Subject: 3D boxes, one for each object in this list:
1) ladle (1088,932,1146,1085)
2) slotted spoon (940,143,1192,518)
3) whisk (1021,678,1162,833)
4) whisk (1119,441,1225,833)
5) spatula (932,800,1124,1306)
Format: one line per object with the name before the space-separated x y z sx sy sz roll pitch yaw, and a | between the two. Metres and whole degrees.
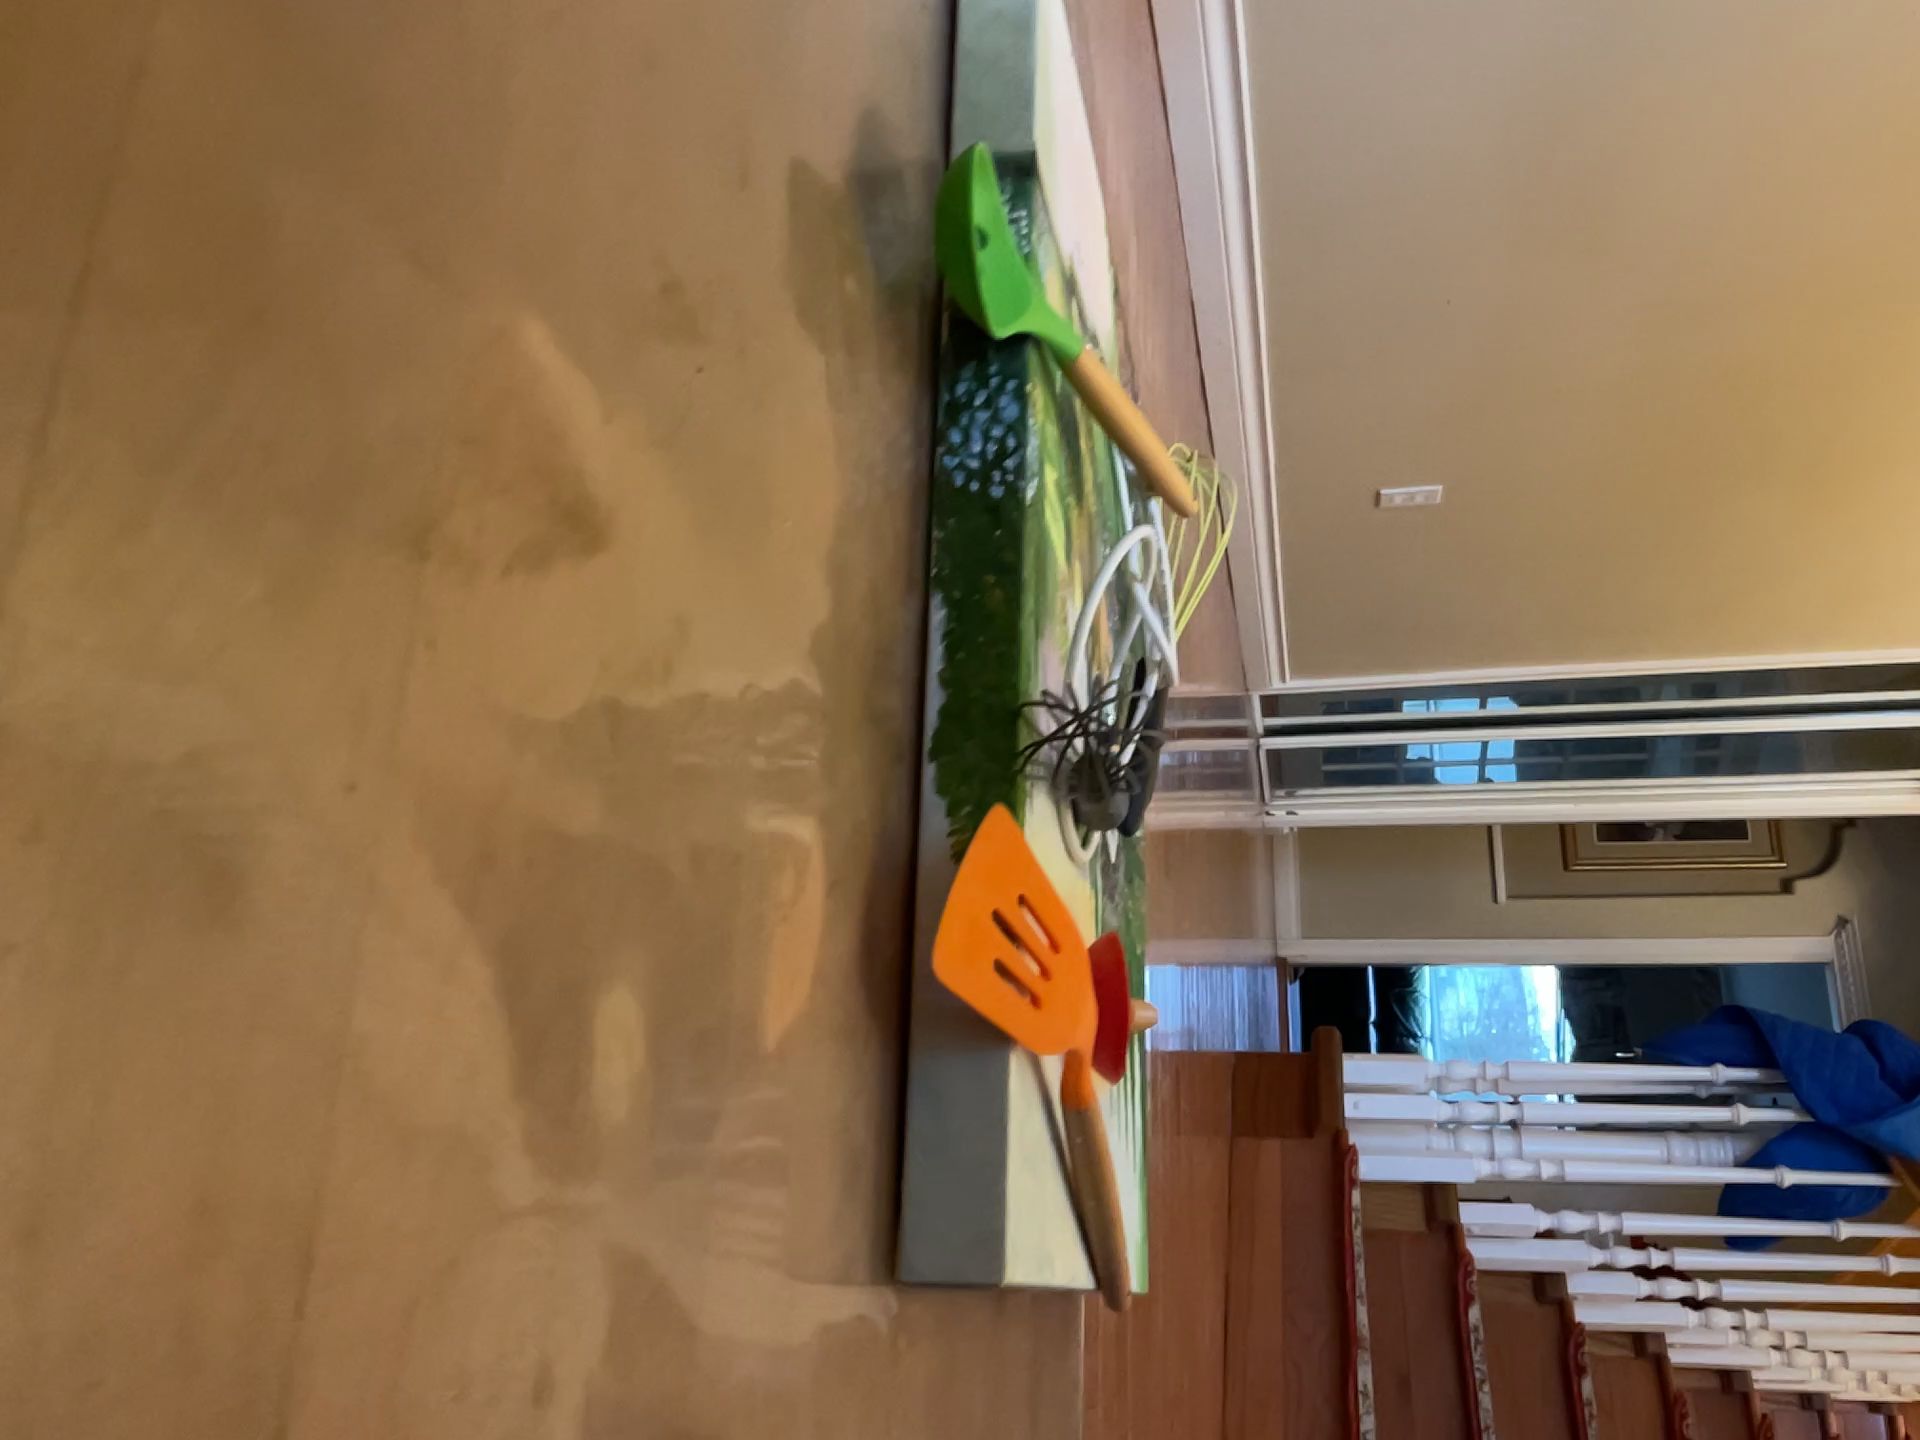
ladle | 0.089 0.155 0.847 0.315 0.031 0.069 49 42 -75
slotted spoon | 0.057 -0.157 0.730 0.313 0.031 0.070 34 53 -61
whisk | 0.061 0.024 0.697 0.238 0.055 0.055 60 40 -77
whisk | 0.125 -0.060 1.010 0.079 0.067 0.312 65 31 -49
spatula | 0.042 0.168 0.669 0.322 0.041 0.081 78 26 -44
